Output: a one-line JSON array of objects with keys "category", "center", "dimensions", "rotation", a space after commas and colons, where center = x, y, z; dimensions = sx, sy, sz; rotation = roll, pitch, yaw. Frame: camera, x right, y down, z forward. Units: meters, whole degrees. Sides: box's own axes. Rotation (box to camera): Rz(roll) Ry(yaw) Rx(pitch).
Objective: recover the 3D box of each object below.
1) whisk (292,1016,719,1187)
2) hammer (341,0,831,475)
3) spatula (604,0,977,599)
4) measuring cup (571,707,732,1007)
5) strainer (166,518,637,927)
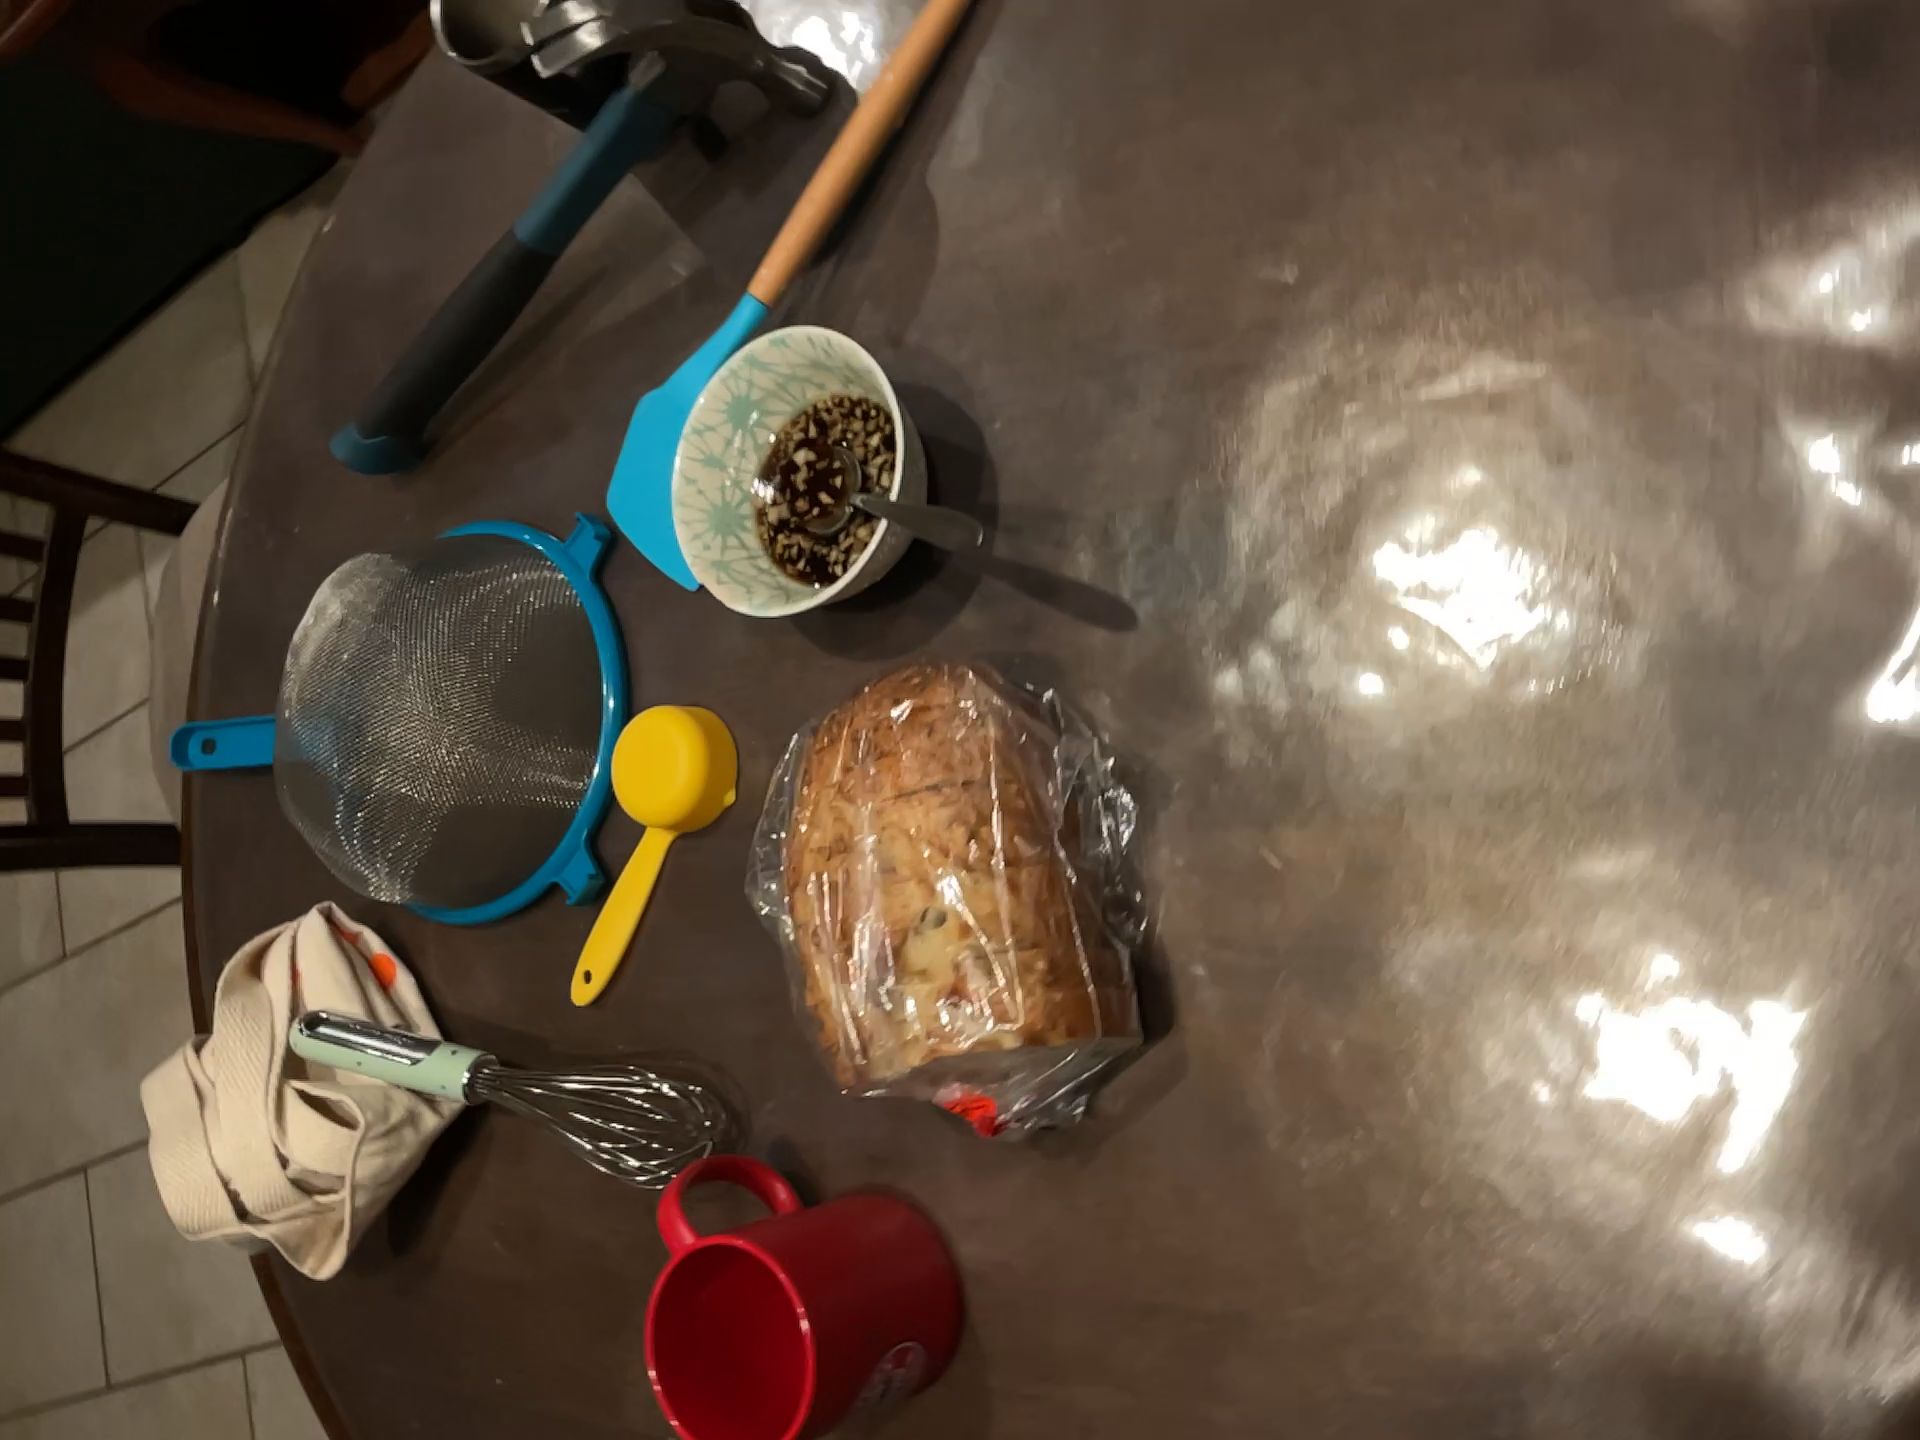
[{"category": "whisk", "center": [-0.219, 0.171, 0.751], "dimensions": [0.246, 0.058, 0.059], "rotation": [6, 118, 24]}, {"category": "hammer", "center": [-0.212, -0.228, 0.797], "dimensions": [0.331, 0.128, 0.033], "rotation": [-37, 63, 33]}, {"category": "spatula", "center": [-0.076, -0.208, 0.746], "dimensions": [0.082, 0.044, 0.317], "rotation": [41, 101, 30]}, {"category": "measuring cup", "center": [-0.157, 0.066, 0.753], "dimensions": [0.062, 0.029, 0.156], "rotation": [29, 98, 32]}, {"category": "strainer", "center": [-0.328, 0.002, 0.833], "dimensions": [0.340, 0.095, 0.211], "rotation": [-5, 80, 28]}]
